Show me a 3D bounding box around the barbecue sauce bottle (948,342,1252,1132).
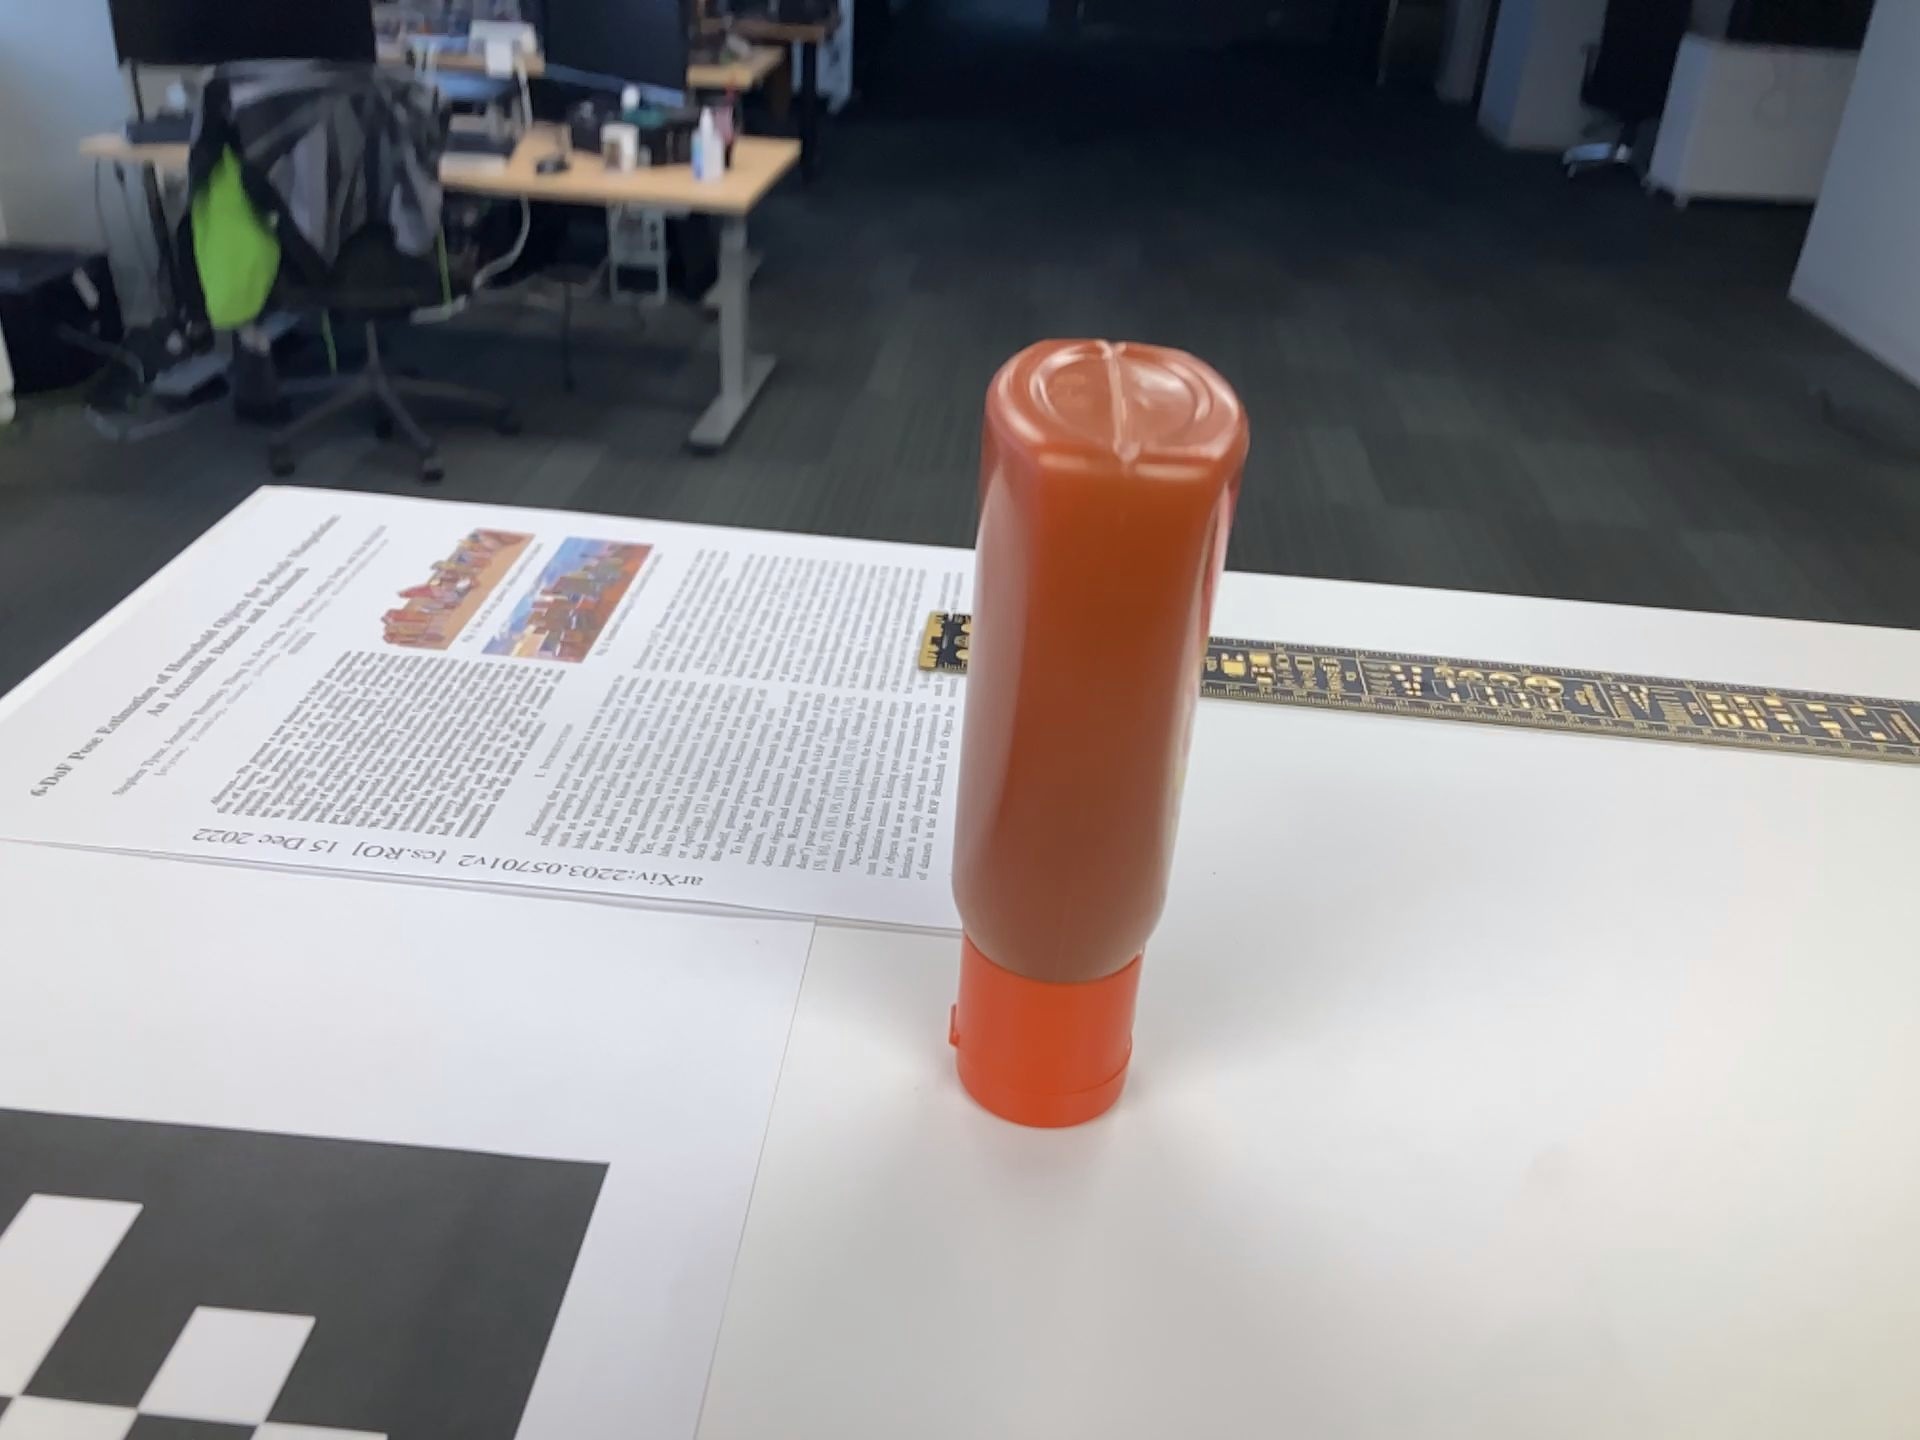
[{"bbox_3d":[0.021,0.010,0.295,0.043,0.148,0.065,5,30,0],"label":"barbecue sauce bottle"}]
